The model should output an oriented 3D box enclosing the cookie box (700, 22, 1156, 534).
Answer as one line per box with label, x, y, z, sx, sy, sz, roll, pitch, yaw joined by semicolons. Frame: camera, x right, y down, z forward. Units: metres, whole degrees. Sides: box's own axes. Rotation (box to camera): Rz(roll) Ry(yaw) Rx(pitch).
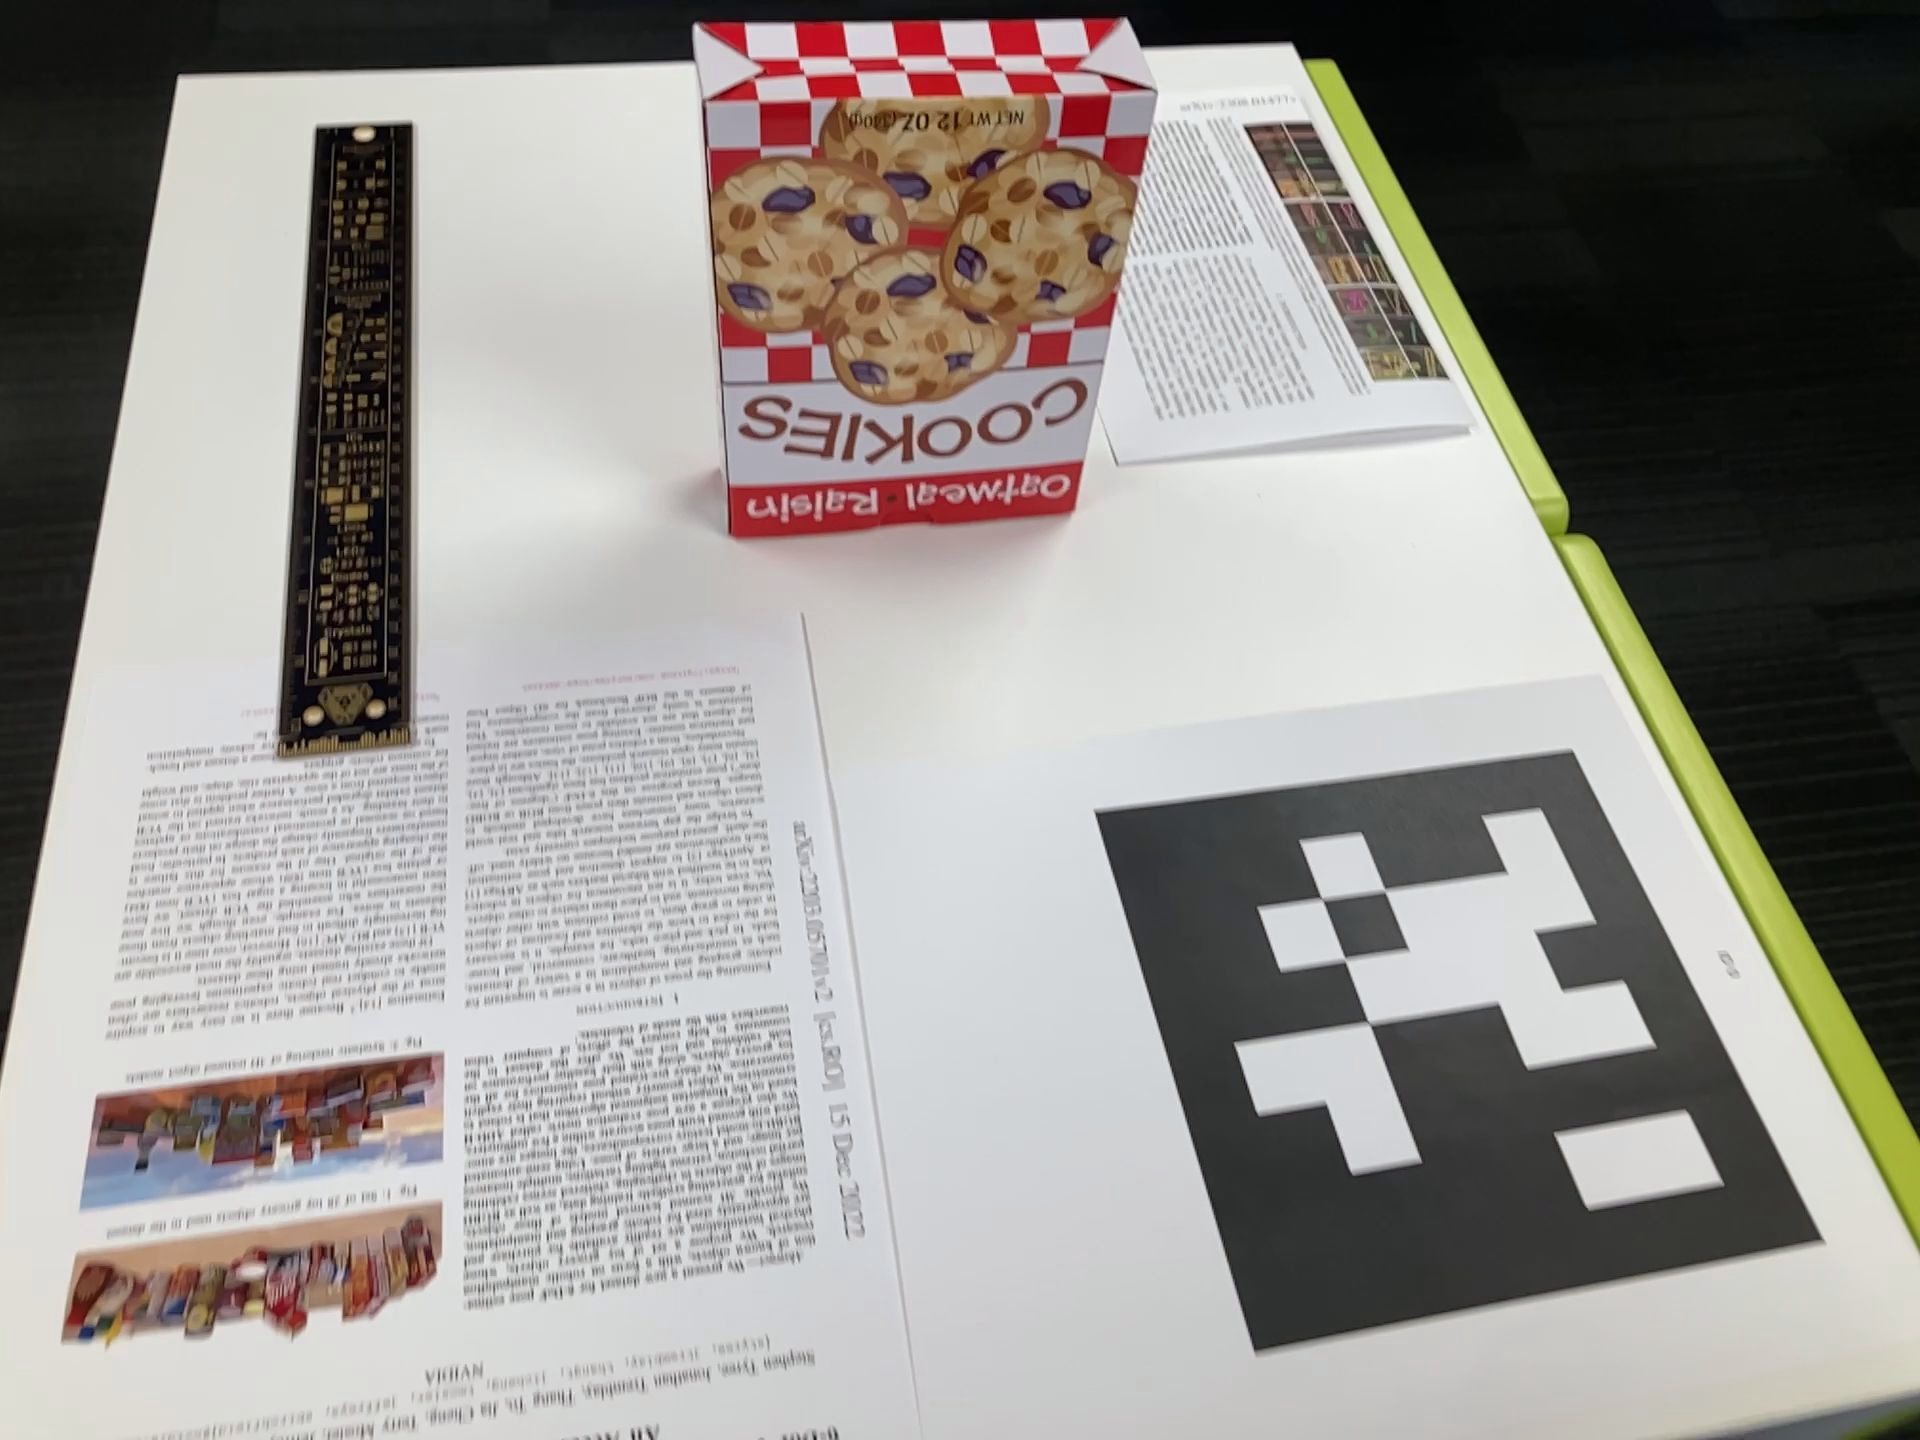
cookie box;-0.016;-0.131;0.499;0.123;0.167;0.040;-5;54;-9
